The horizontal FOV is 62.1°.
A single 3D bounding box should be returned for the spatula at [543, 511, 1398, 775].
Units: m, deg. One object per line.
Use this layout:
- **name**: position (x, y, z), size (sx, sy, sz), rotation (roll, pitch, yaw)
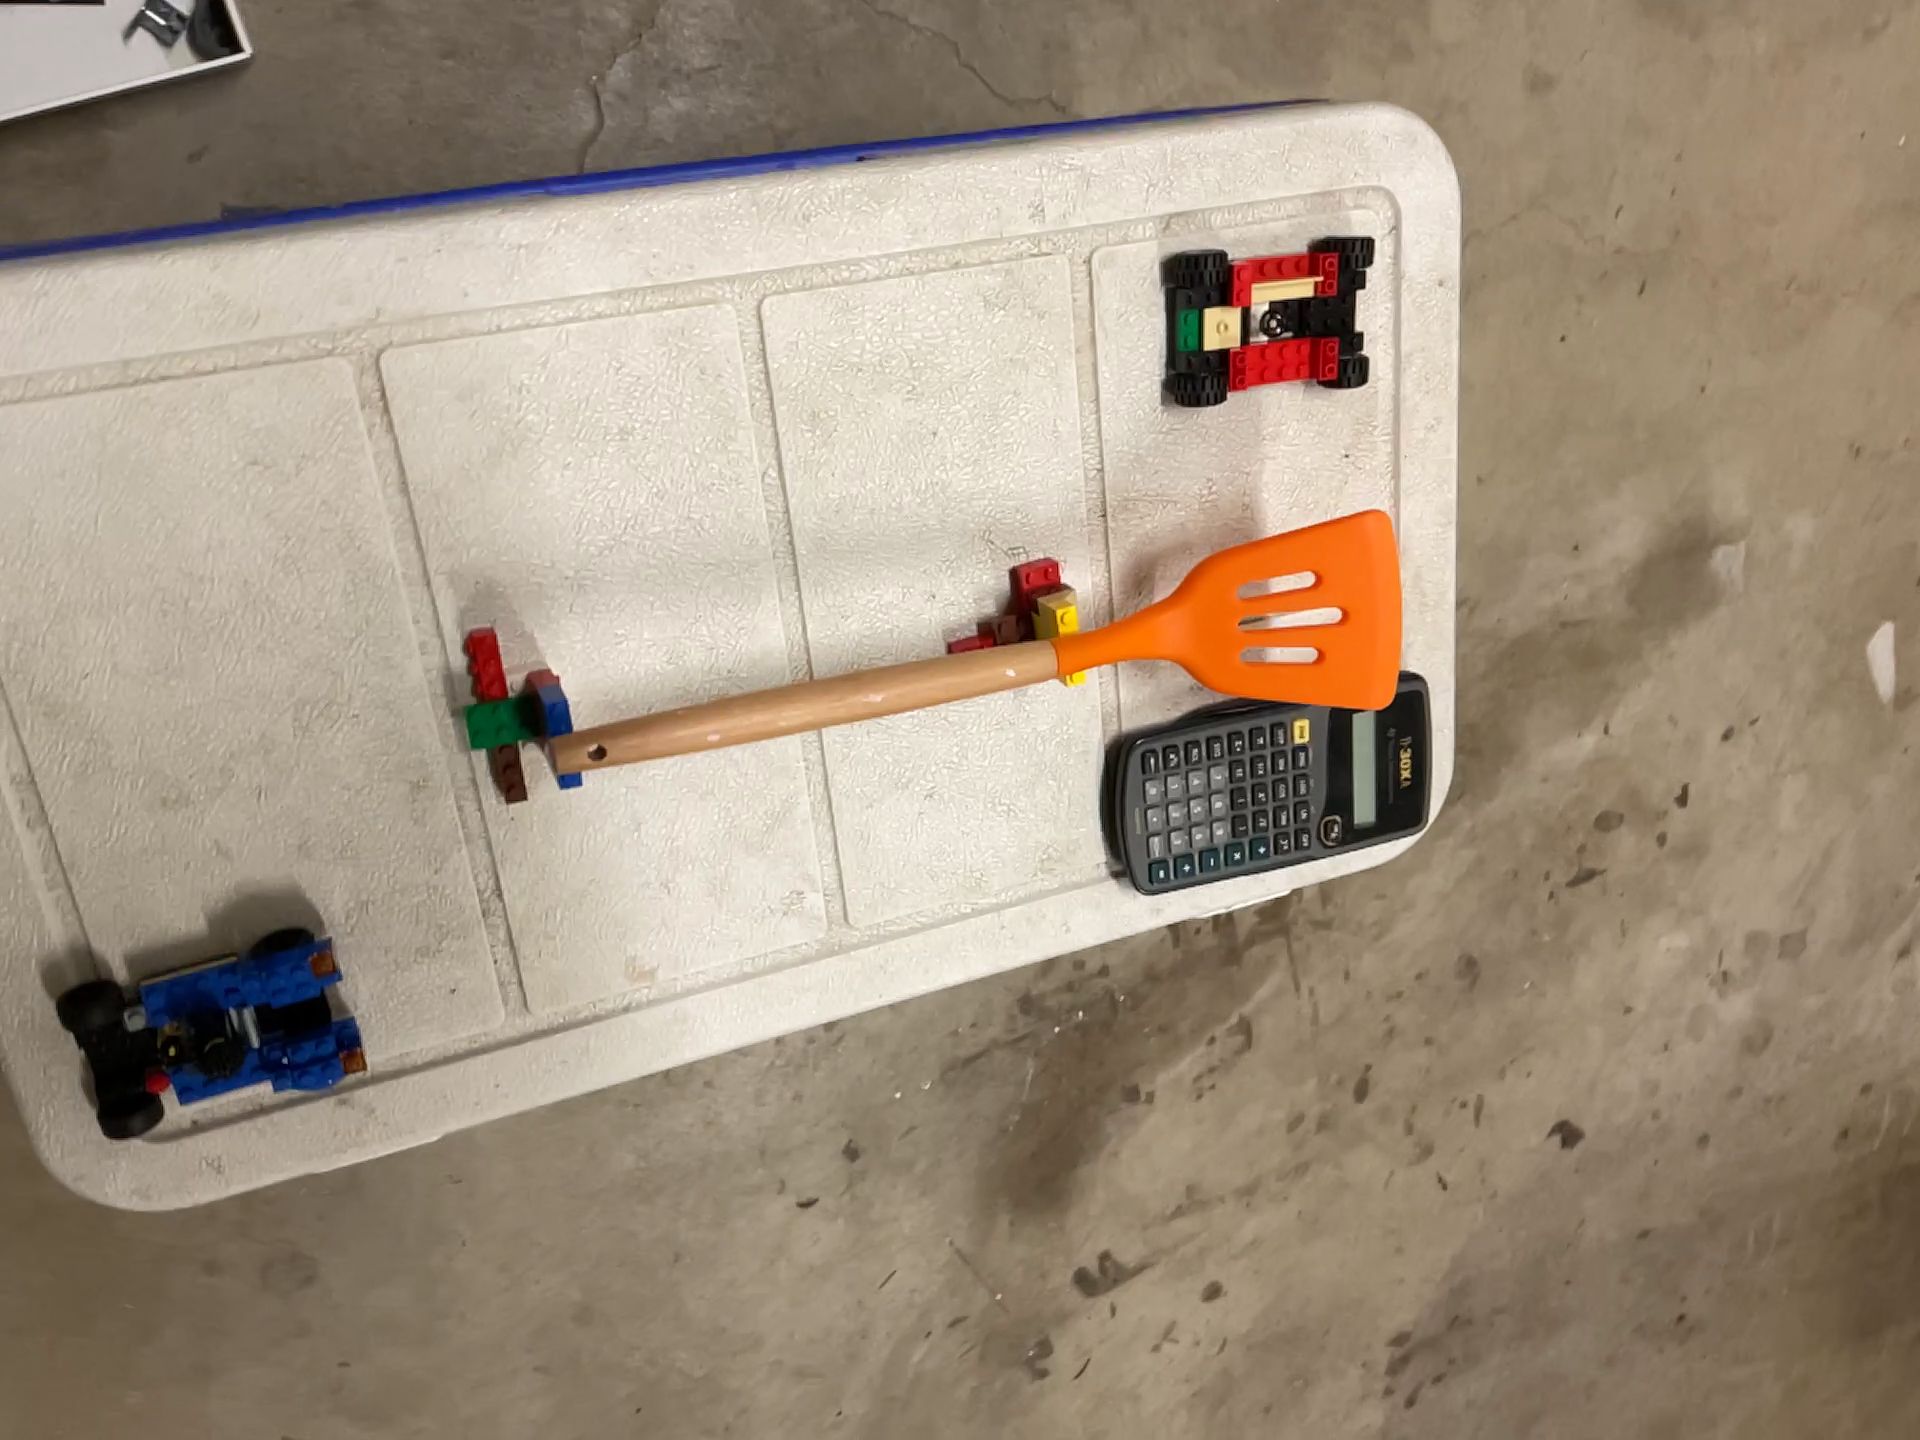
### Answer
- **spatula**: position (0.013, -0.016, 0.582), size (0.323, 0.041, 0.081), rotation (-12, 108, -20)
